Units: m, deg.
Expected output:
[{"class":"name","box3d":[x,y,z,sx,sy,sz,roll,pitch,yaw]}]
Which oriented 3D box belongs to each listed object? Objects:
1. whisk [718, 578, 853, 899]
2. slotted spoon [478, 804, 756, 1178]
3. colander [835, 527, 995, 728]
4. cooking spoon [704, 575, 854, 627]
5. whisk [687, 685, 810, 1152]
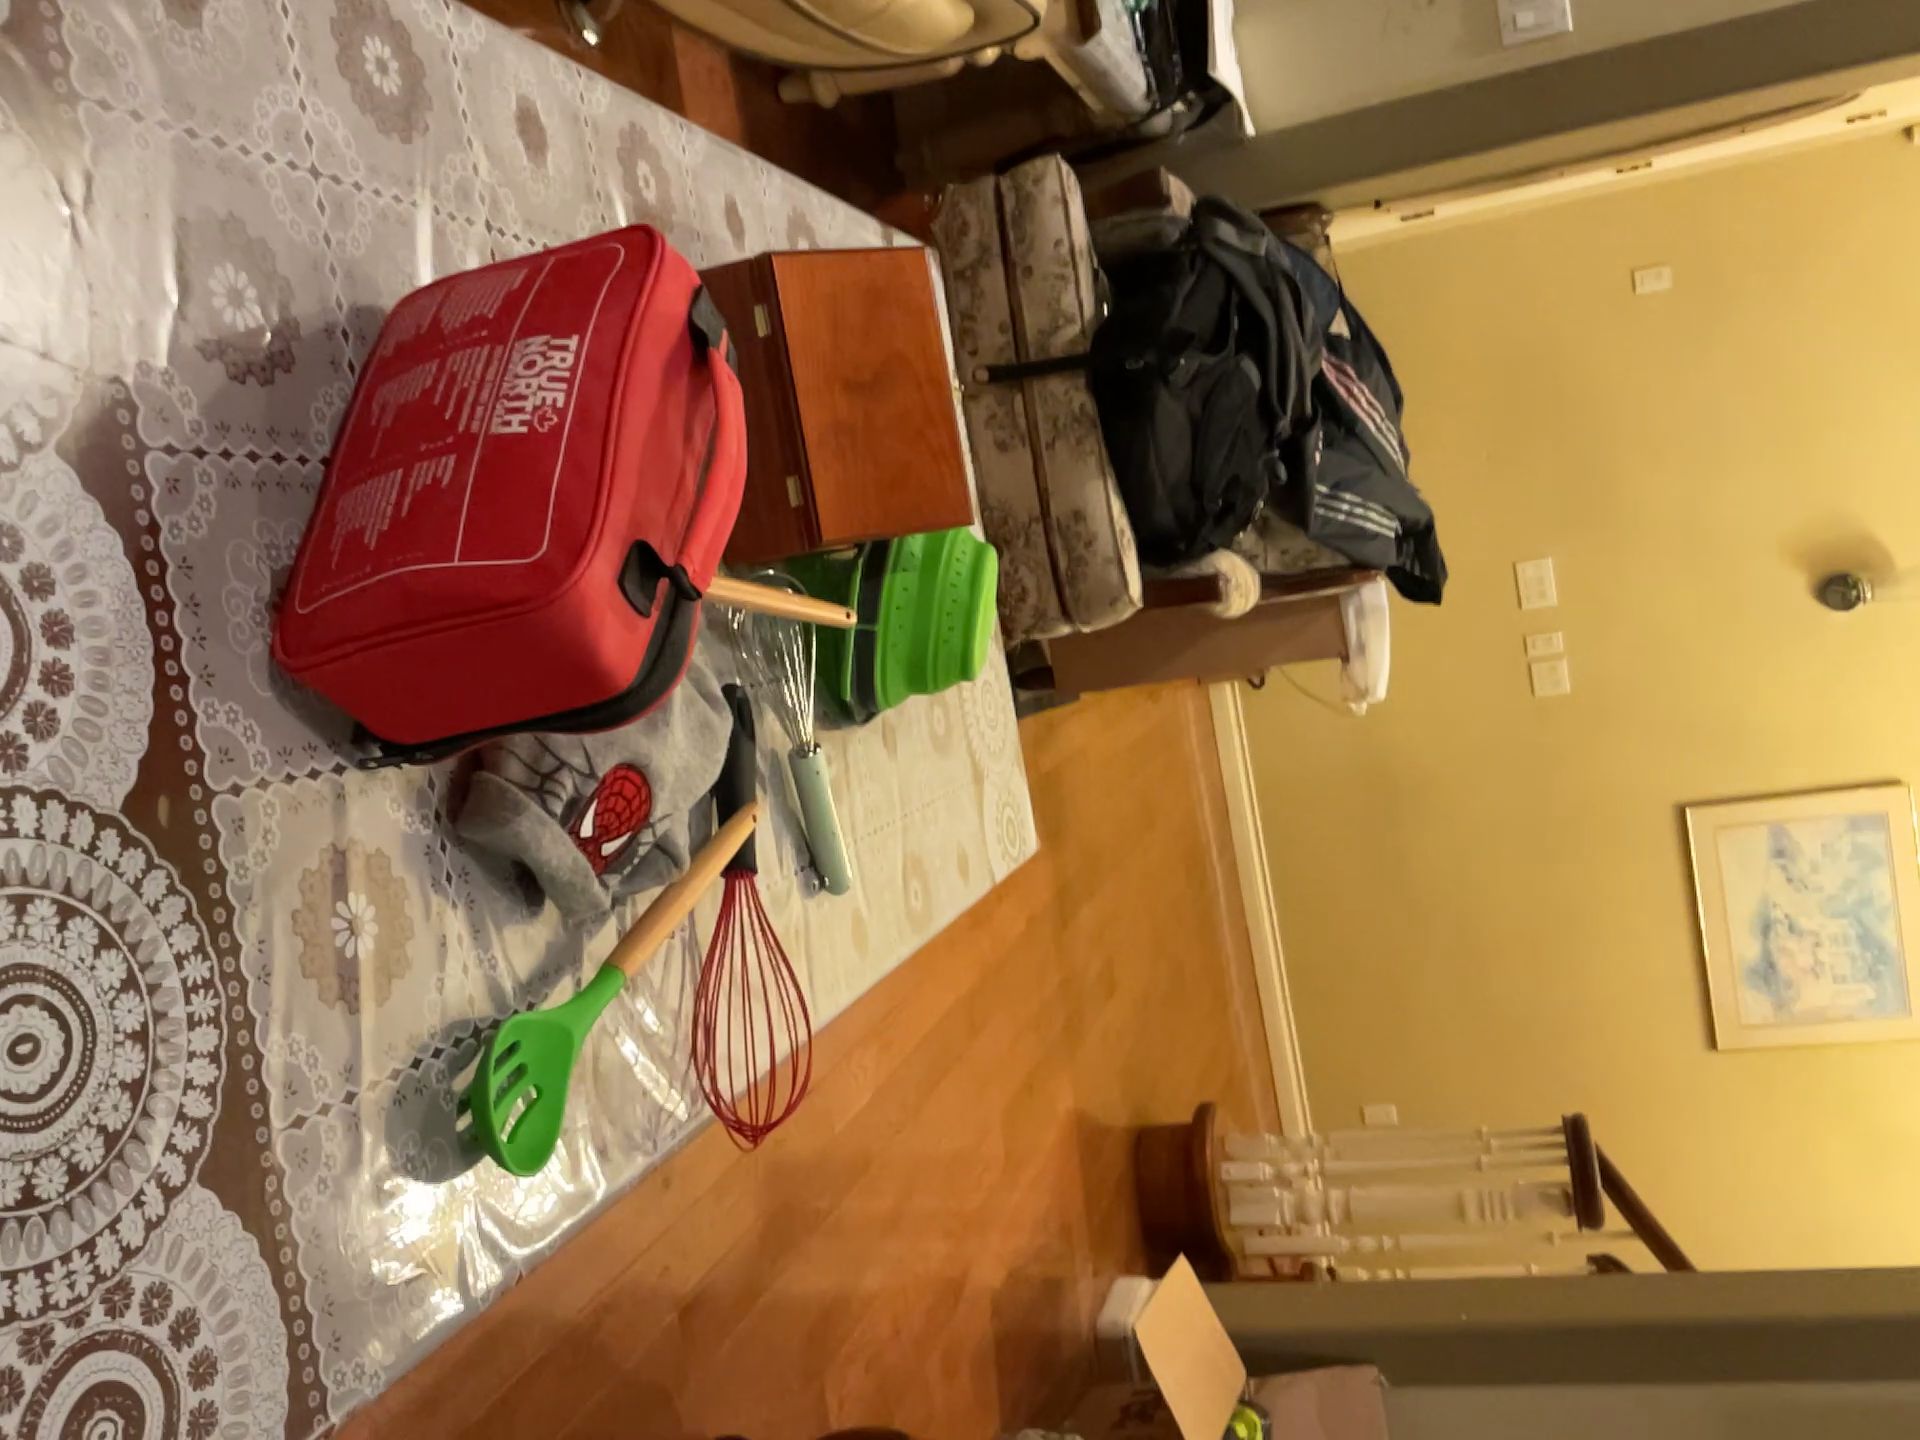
[{"class":"whisk","box3d":[-0.115,0.017,1.097,0.058,0.059,0.246,-27,116,-28]},{"class":"slotted spoon","box3d":[-0.171,0.124,0.841,0.314,0.031,0.070,-59,137,-60]},{"class":"colander","box3d":[-0.015,-0.112,1.304,0.397,0.094,0.204,-65,163,-72]},{"class":"cooking spoon","box3d":[-0.155,-0.080,0.954,0.318,0.017,0.069,8,76,-61]},{"class":"whisk","box3d":[-0.132,0.111,0.964,0.073,0.073,0.296,38,40,-57]}]
